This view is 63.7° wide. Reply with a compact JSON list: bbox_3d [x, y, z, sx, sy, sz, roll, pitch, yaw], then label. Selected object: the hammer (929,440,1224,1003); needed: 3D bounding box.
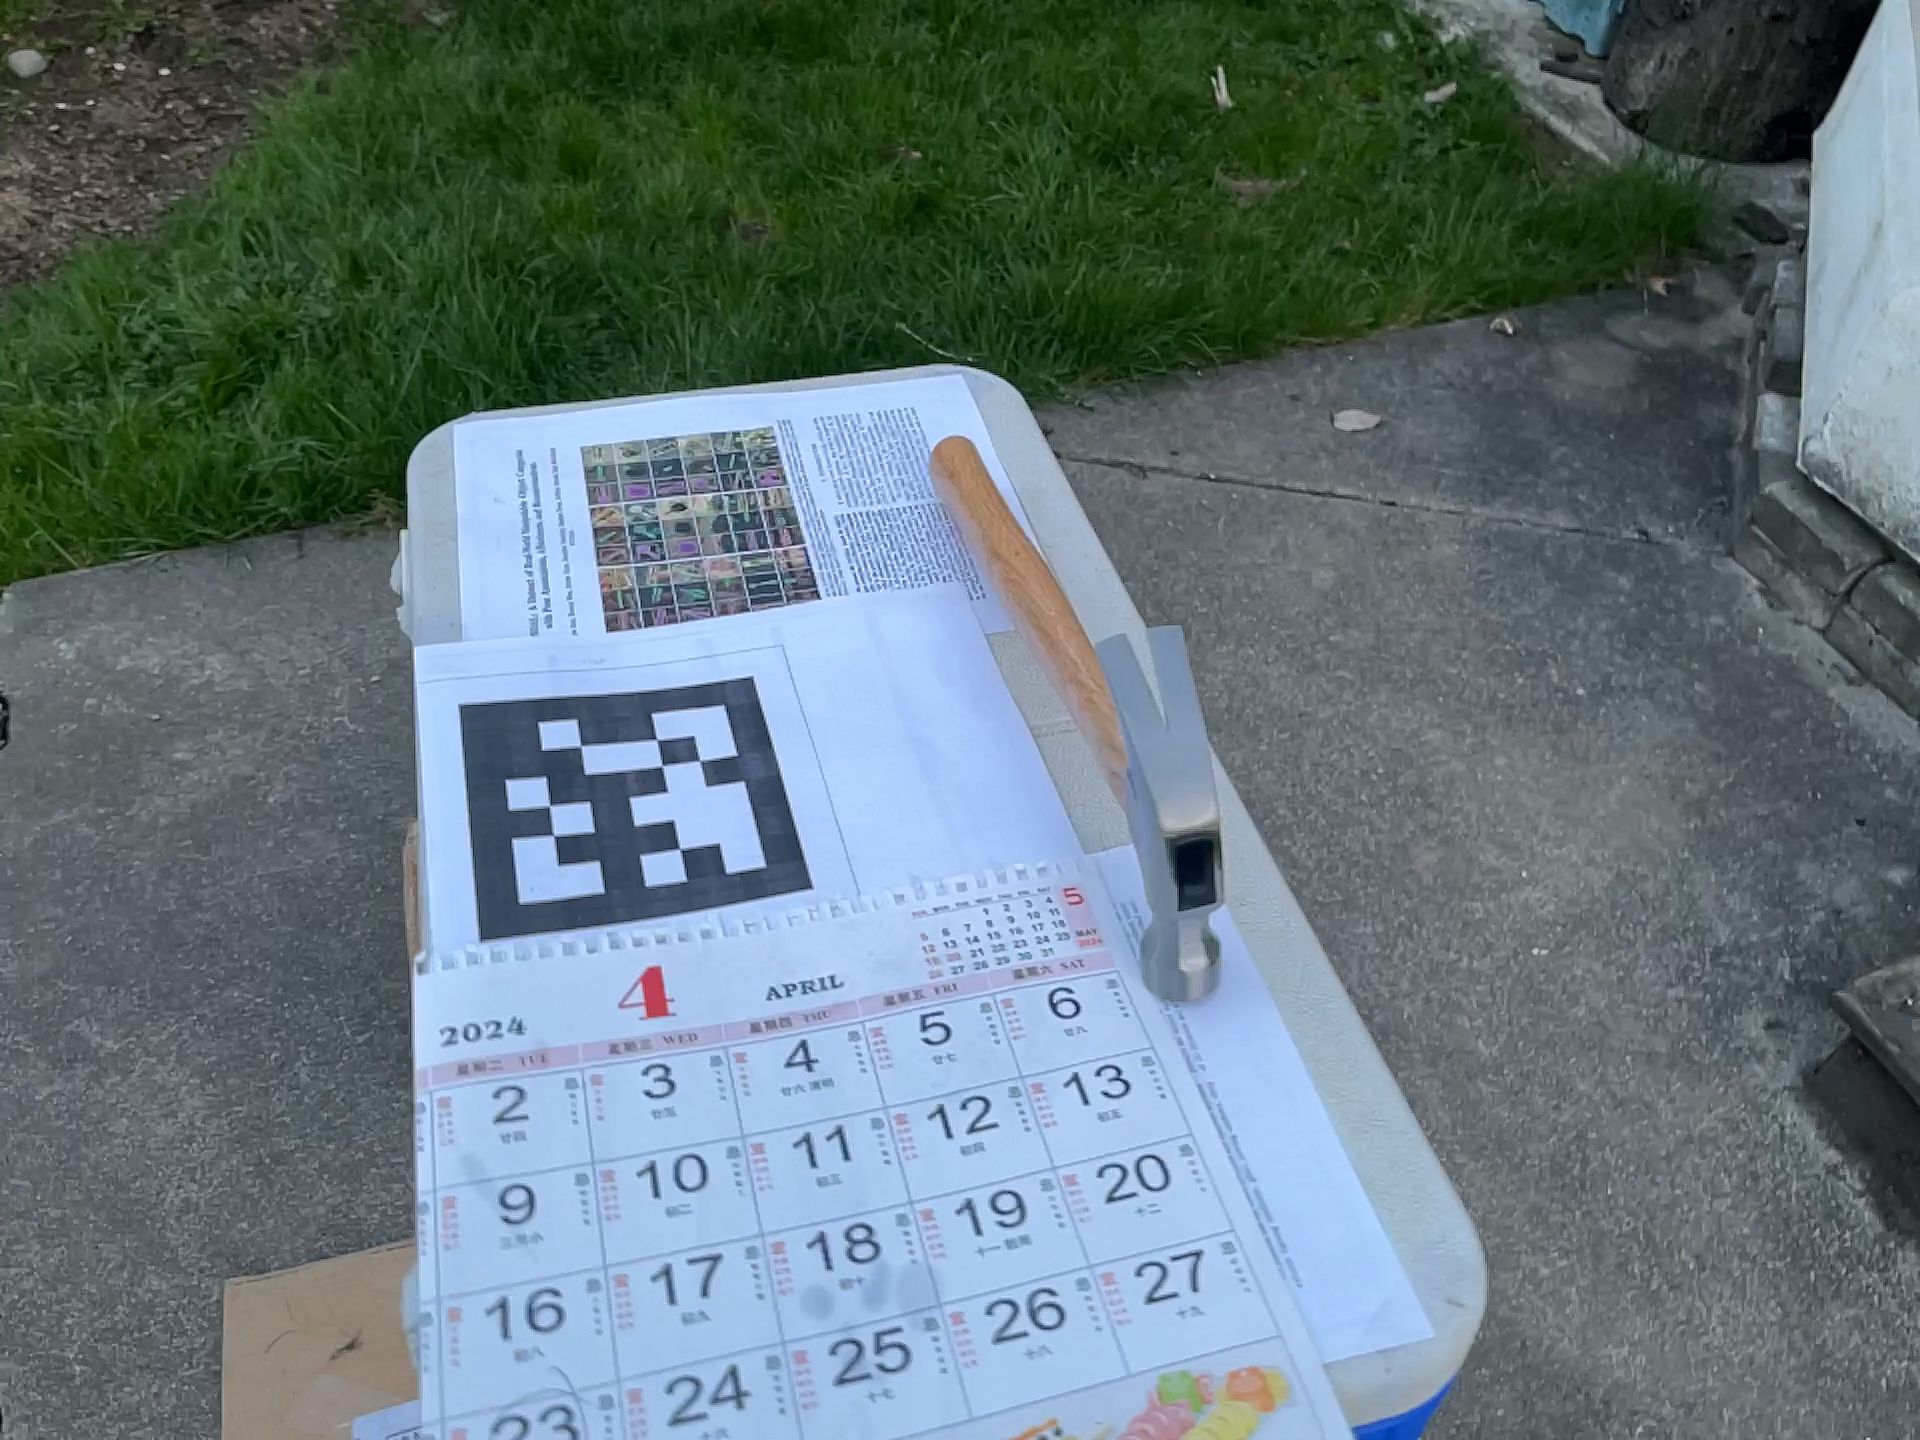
[{"bbox_3d":[0.039,-0.039,0.667,0.031,0.130,0.331,-13,38,-9],"label":"hammer"}]
